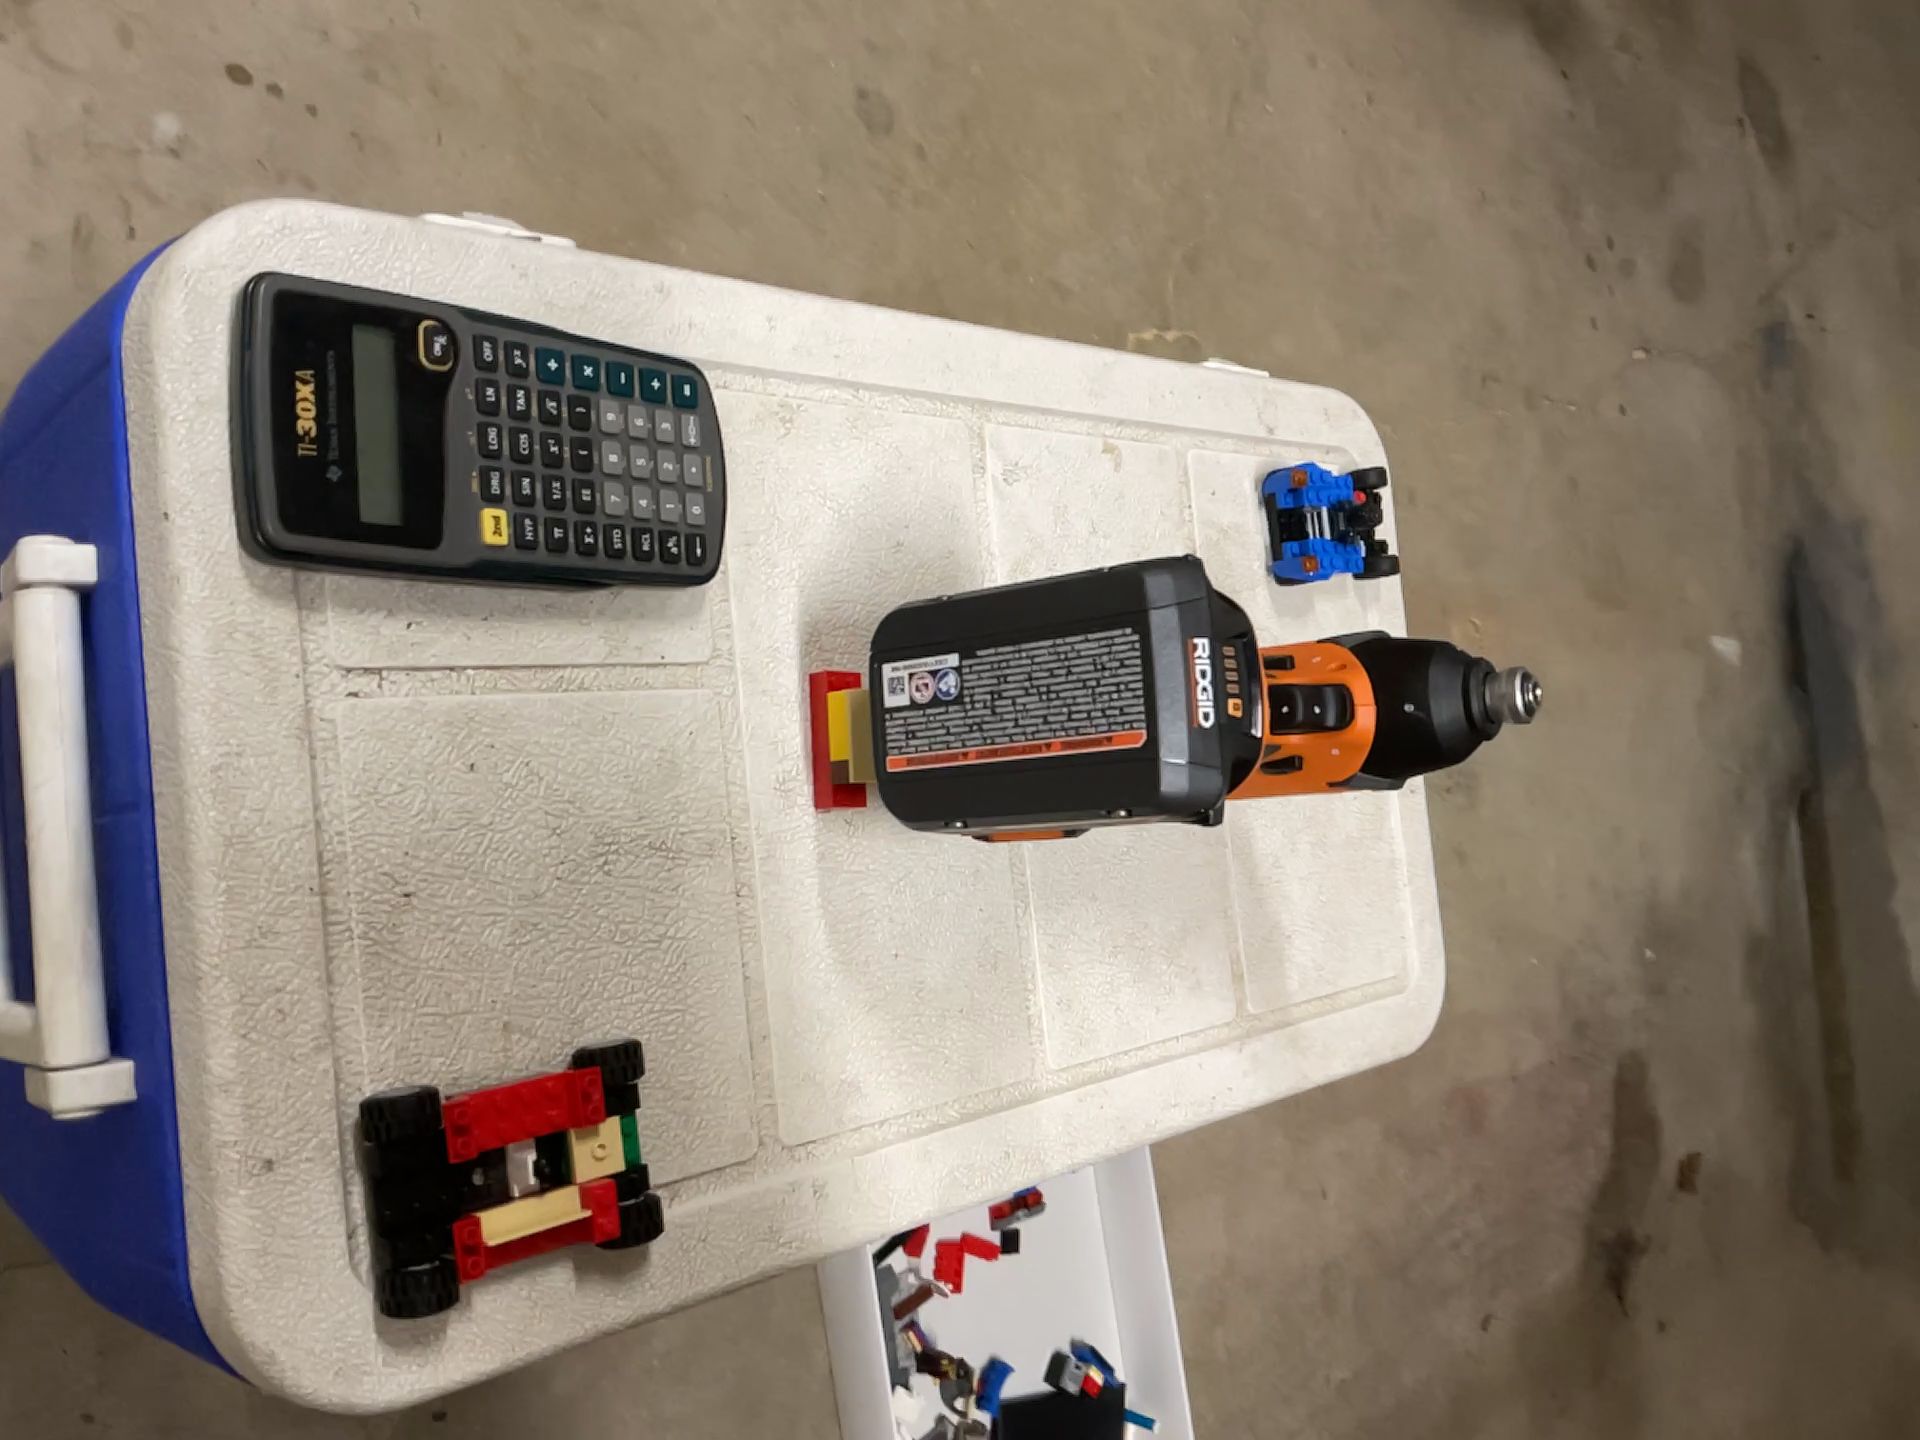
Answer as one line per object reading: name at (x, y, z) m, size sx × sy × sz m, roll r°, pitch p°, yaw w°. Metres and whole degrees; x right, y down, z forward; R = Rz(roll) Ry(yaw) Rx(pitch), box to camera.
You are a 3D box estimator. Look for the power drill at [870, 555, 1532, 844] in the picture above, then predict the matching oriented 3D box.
power drill at (0.094, -0.004, 0.565) m, size 0.226 × 0.164 × 0.084 m, roll 3°, pitch 82°, yaw -54°
